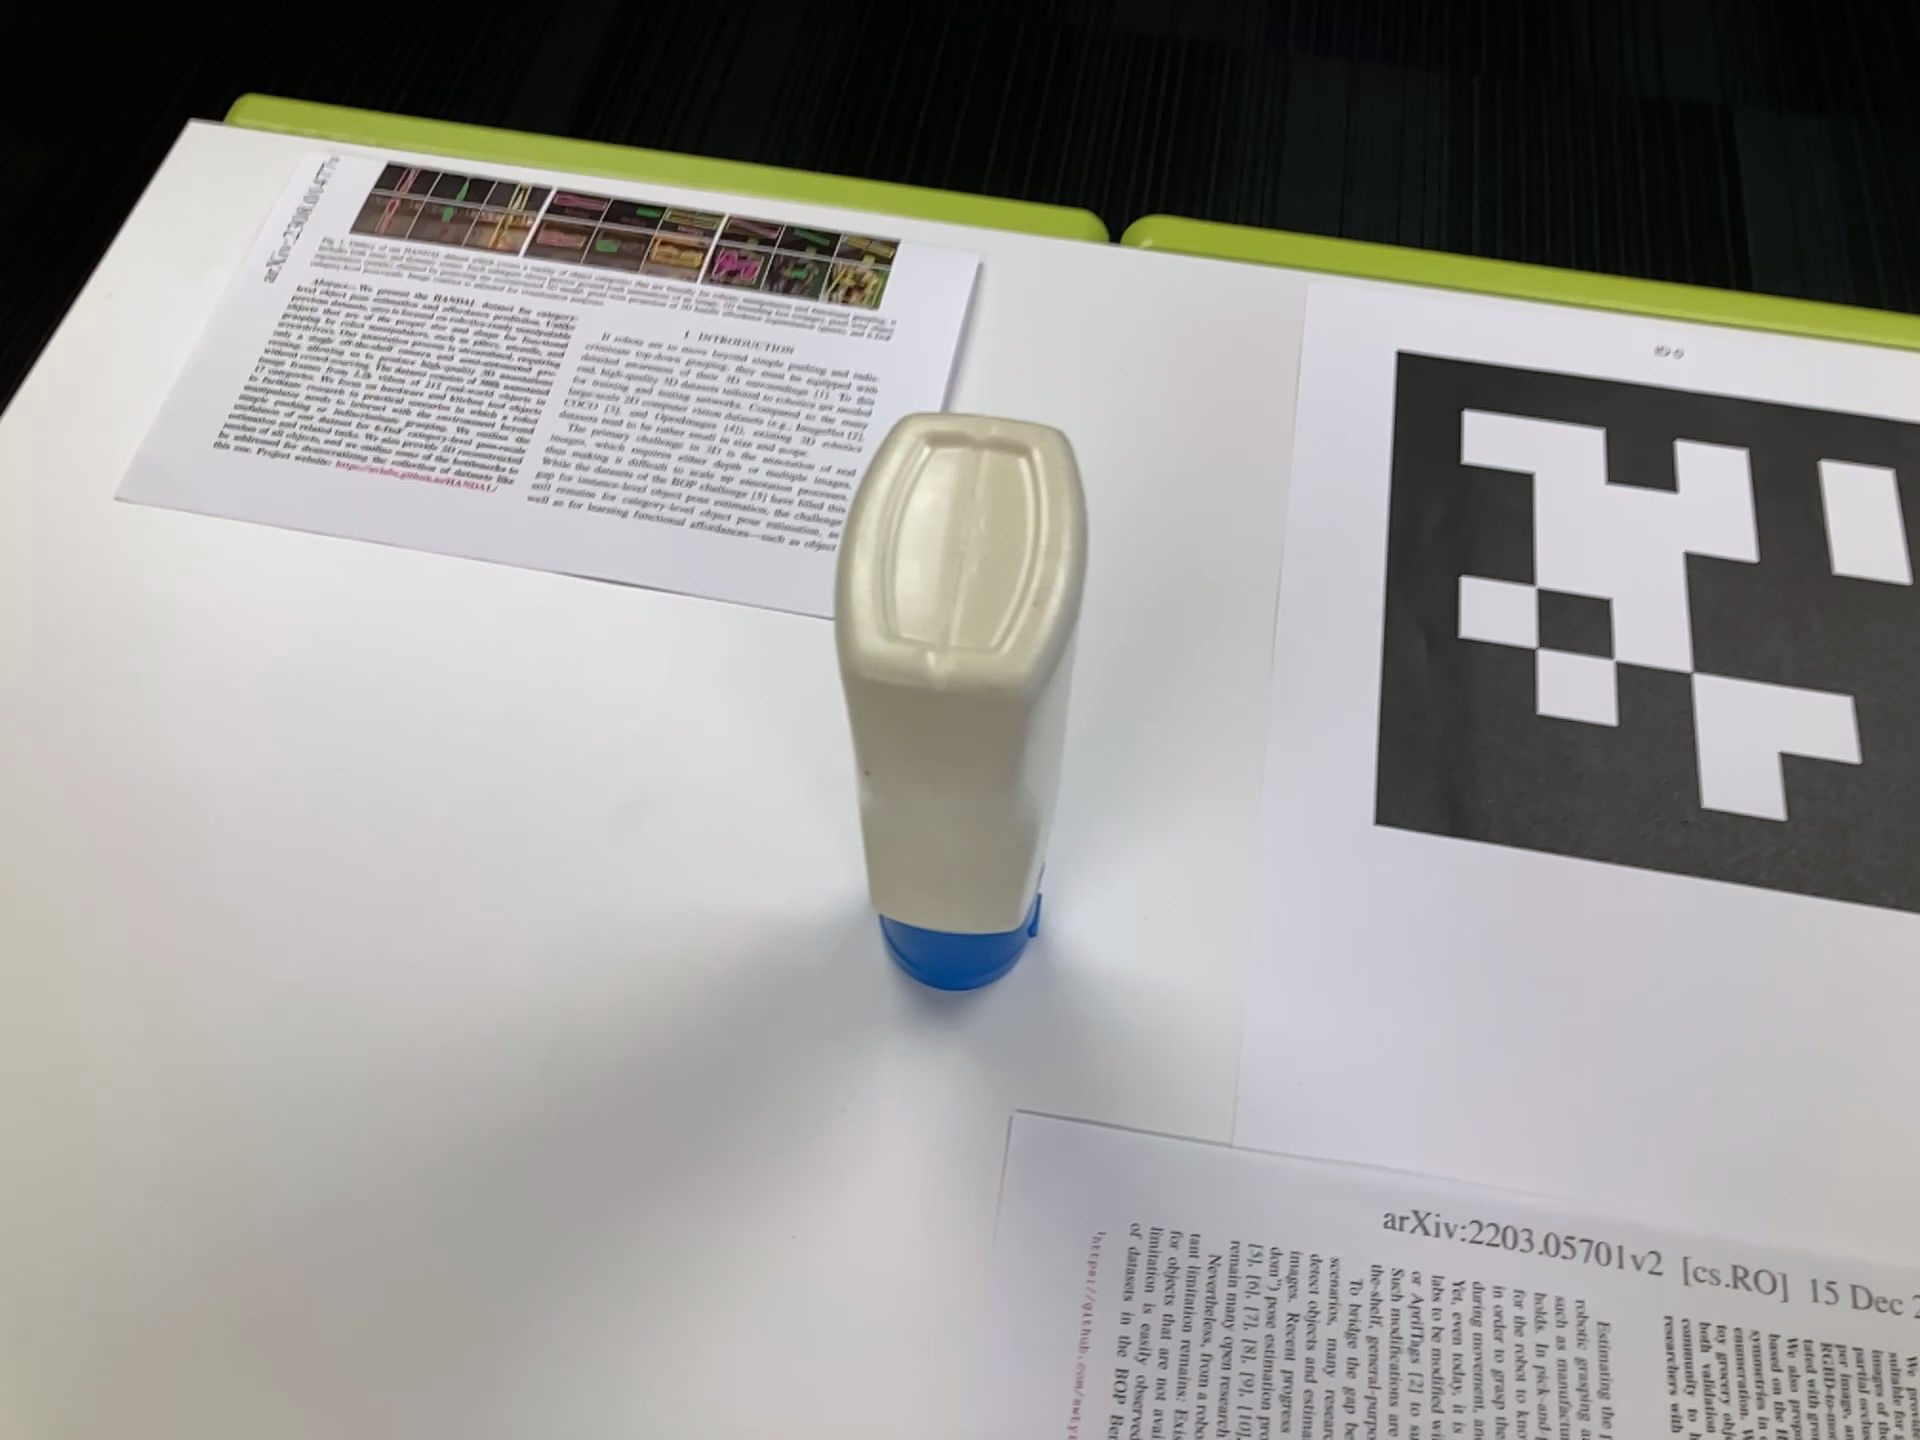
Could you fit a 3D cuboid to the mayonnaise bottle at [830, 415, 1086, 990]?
[{"bbox_3d":[-0.001,0.010,0.316,0.041,0.148,0.065,8,59,4],"label":"mayonnaise bottle"}]
